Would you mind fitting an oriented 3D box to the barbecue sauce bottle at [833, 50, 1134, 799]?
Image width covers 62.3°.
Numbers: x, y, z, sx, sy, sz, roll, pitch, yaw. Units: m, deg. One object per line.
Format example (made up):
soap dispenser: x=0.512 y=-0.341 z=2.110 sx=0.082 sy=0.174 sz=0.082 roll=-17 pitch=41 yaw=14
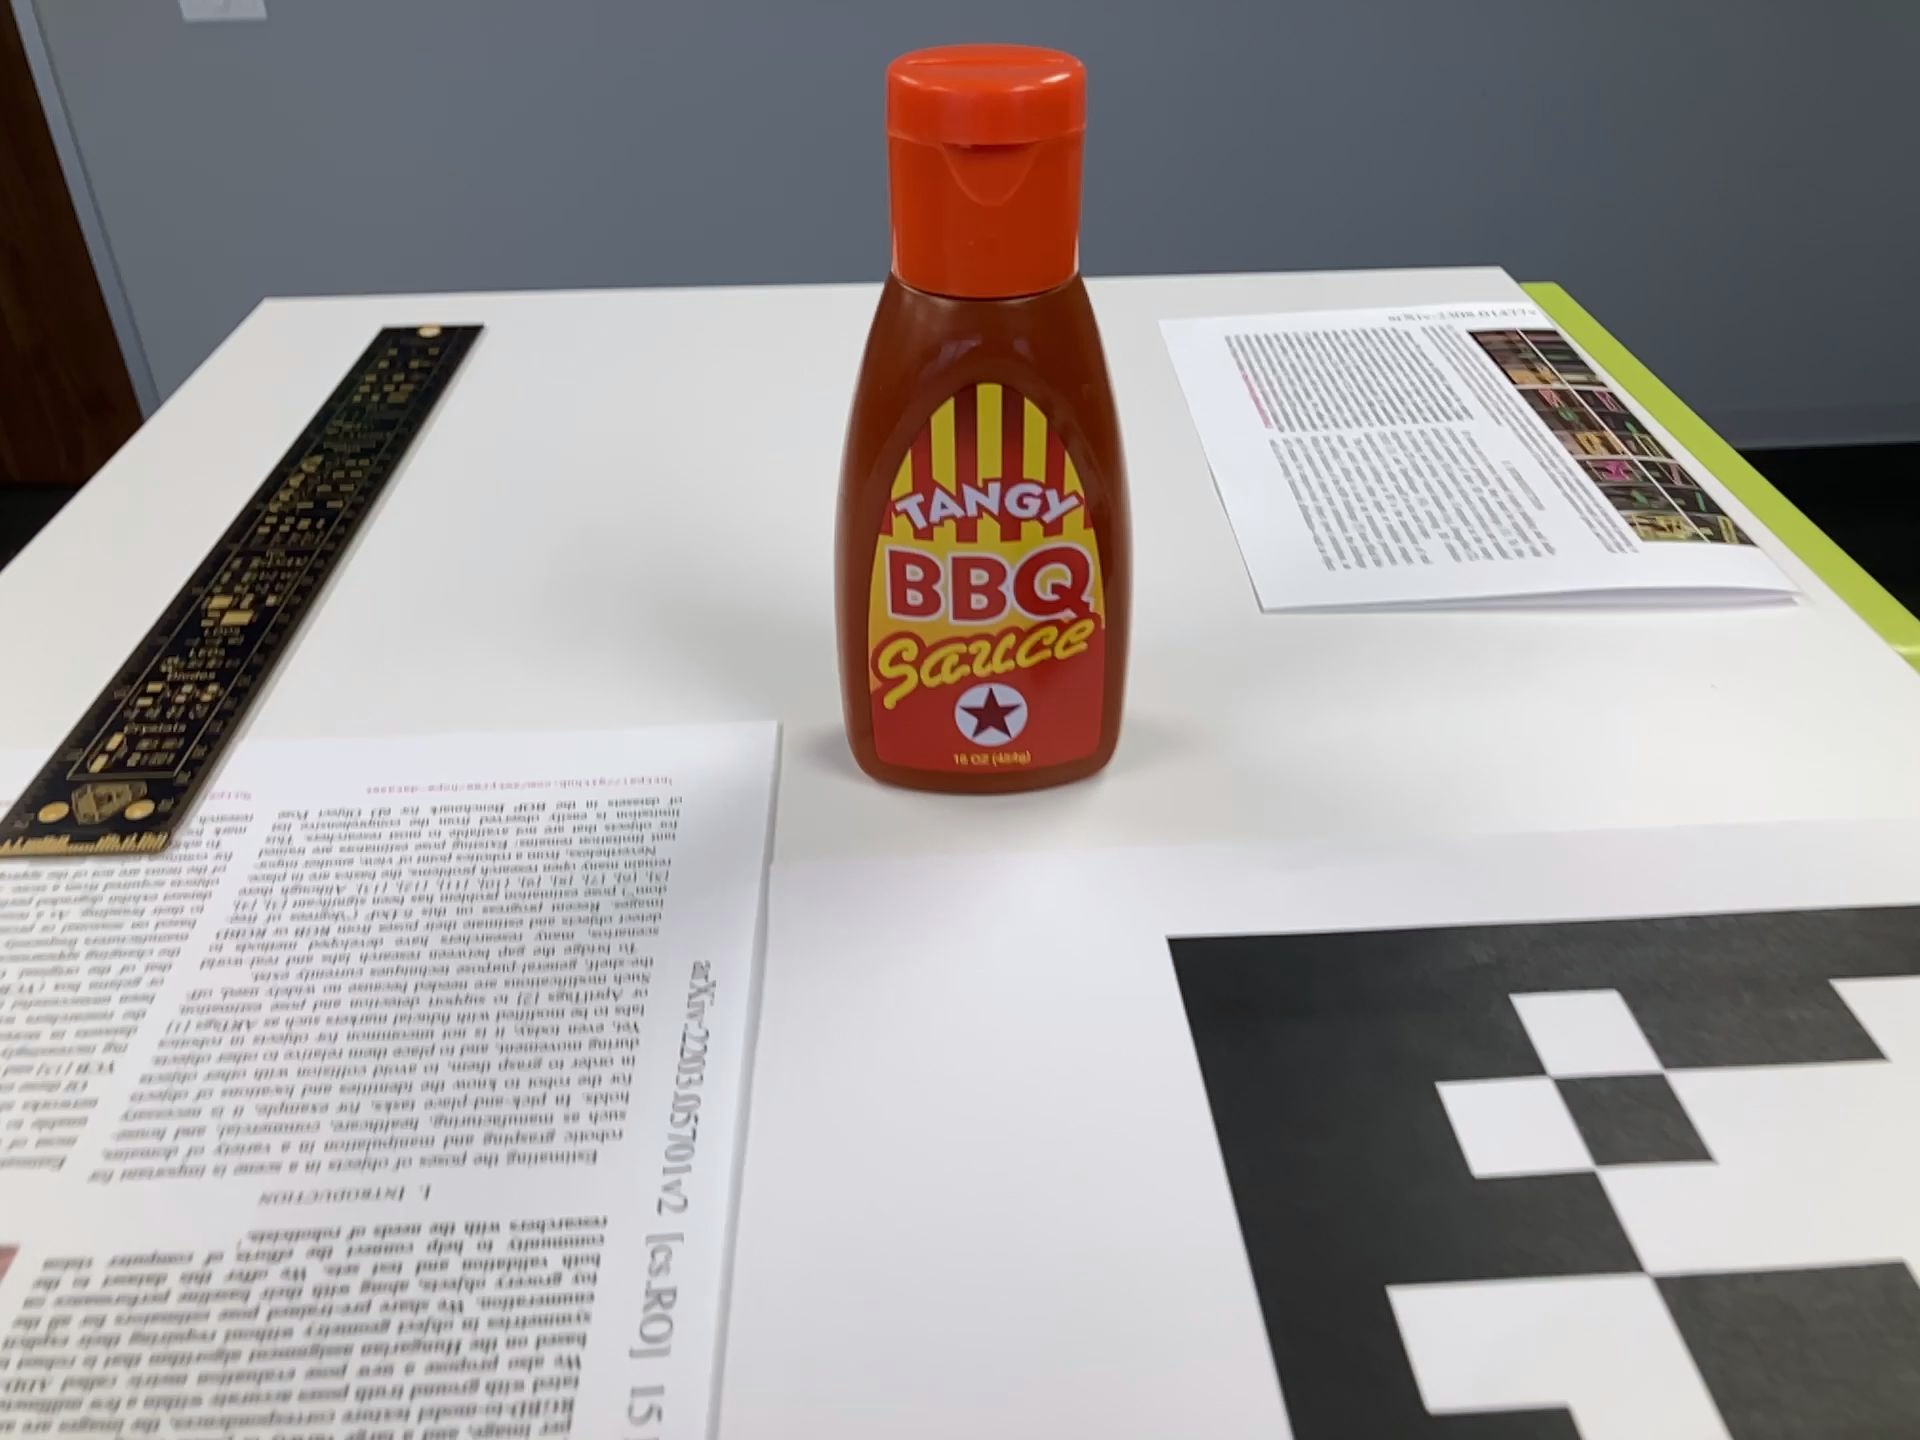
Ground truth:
barbecue sauce bottle: x=0.005 y=-0.055 z=0.326 sx=0.065 sy=0.148 sz=0.043 roll=-1 pitch=33 yaw=-1
